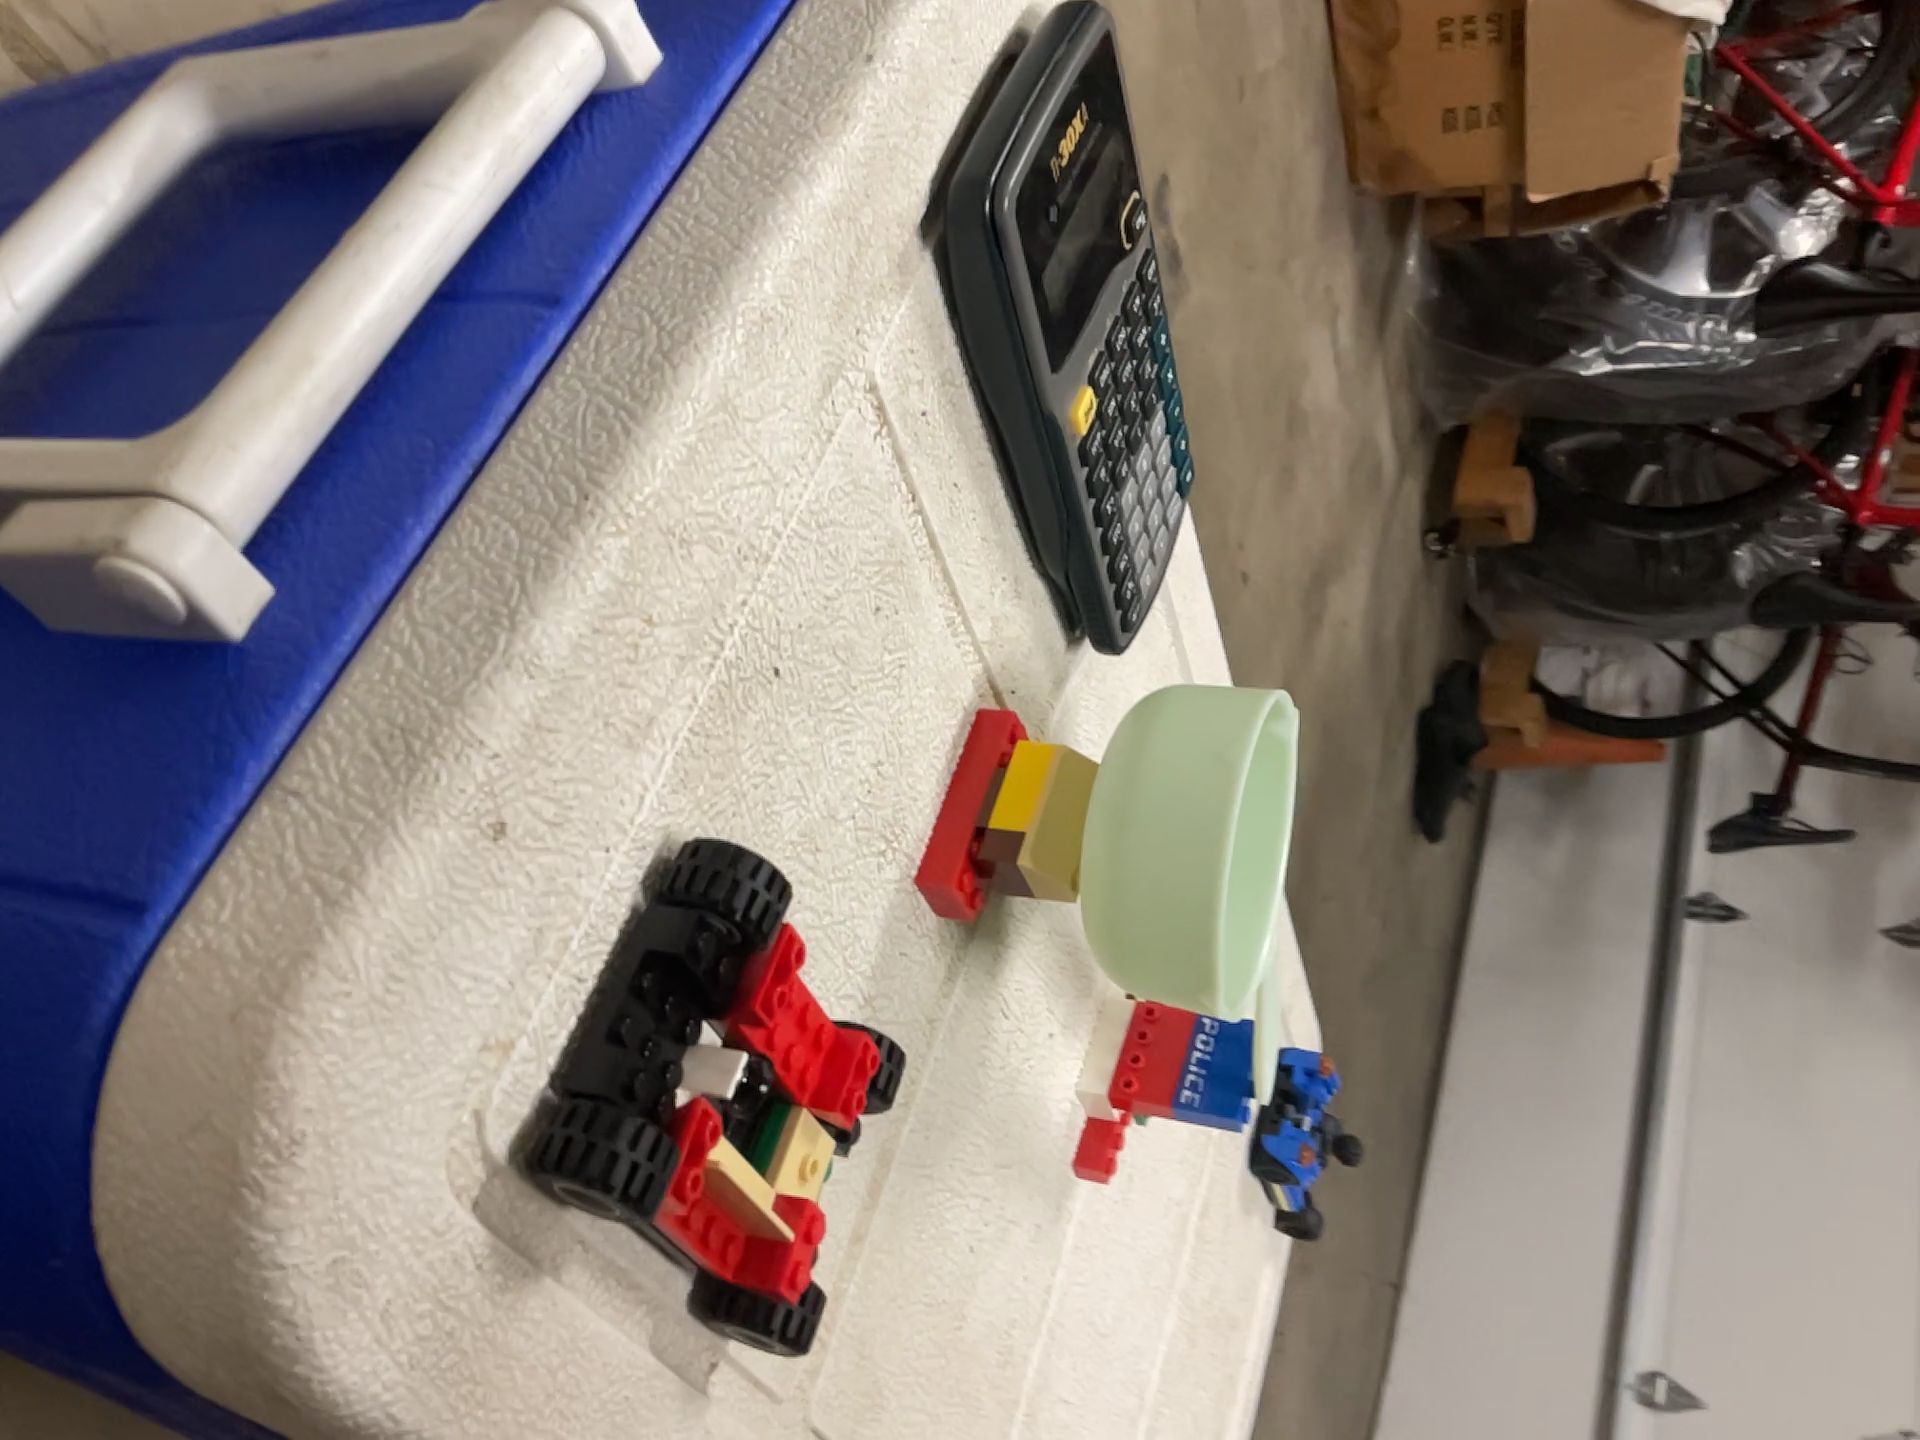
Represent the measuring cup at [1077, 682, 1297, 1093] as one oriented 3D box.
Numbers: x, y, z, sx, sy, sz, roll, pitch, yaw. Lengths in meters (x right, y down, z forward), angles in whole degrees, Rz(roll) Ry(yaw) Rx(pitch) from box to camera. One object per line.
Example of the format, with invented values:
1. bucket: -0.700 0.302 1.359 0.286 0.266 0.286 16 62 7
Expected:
1. measuring cup: 0.061 0.054 0.405 0.167 0.038 0.083 71 32 -53
